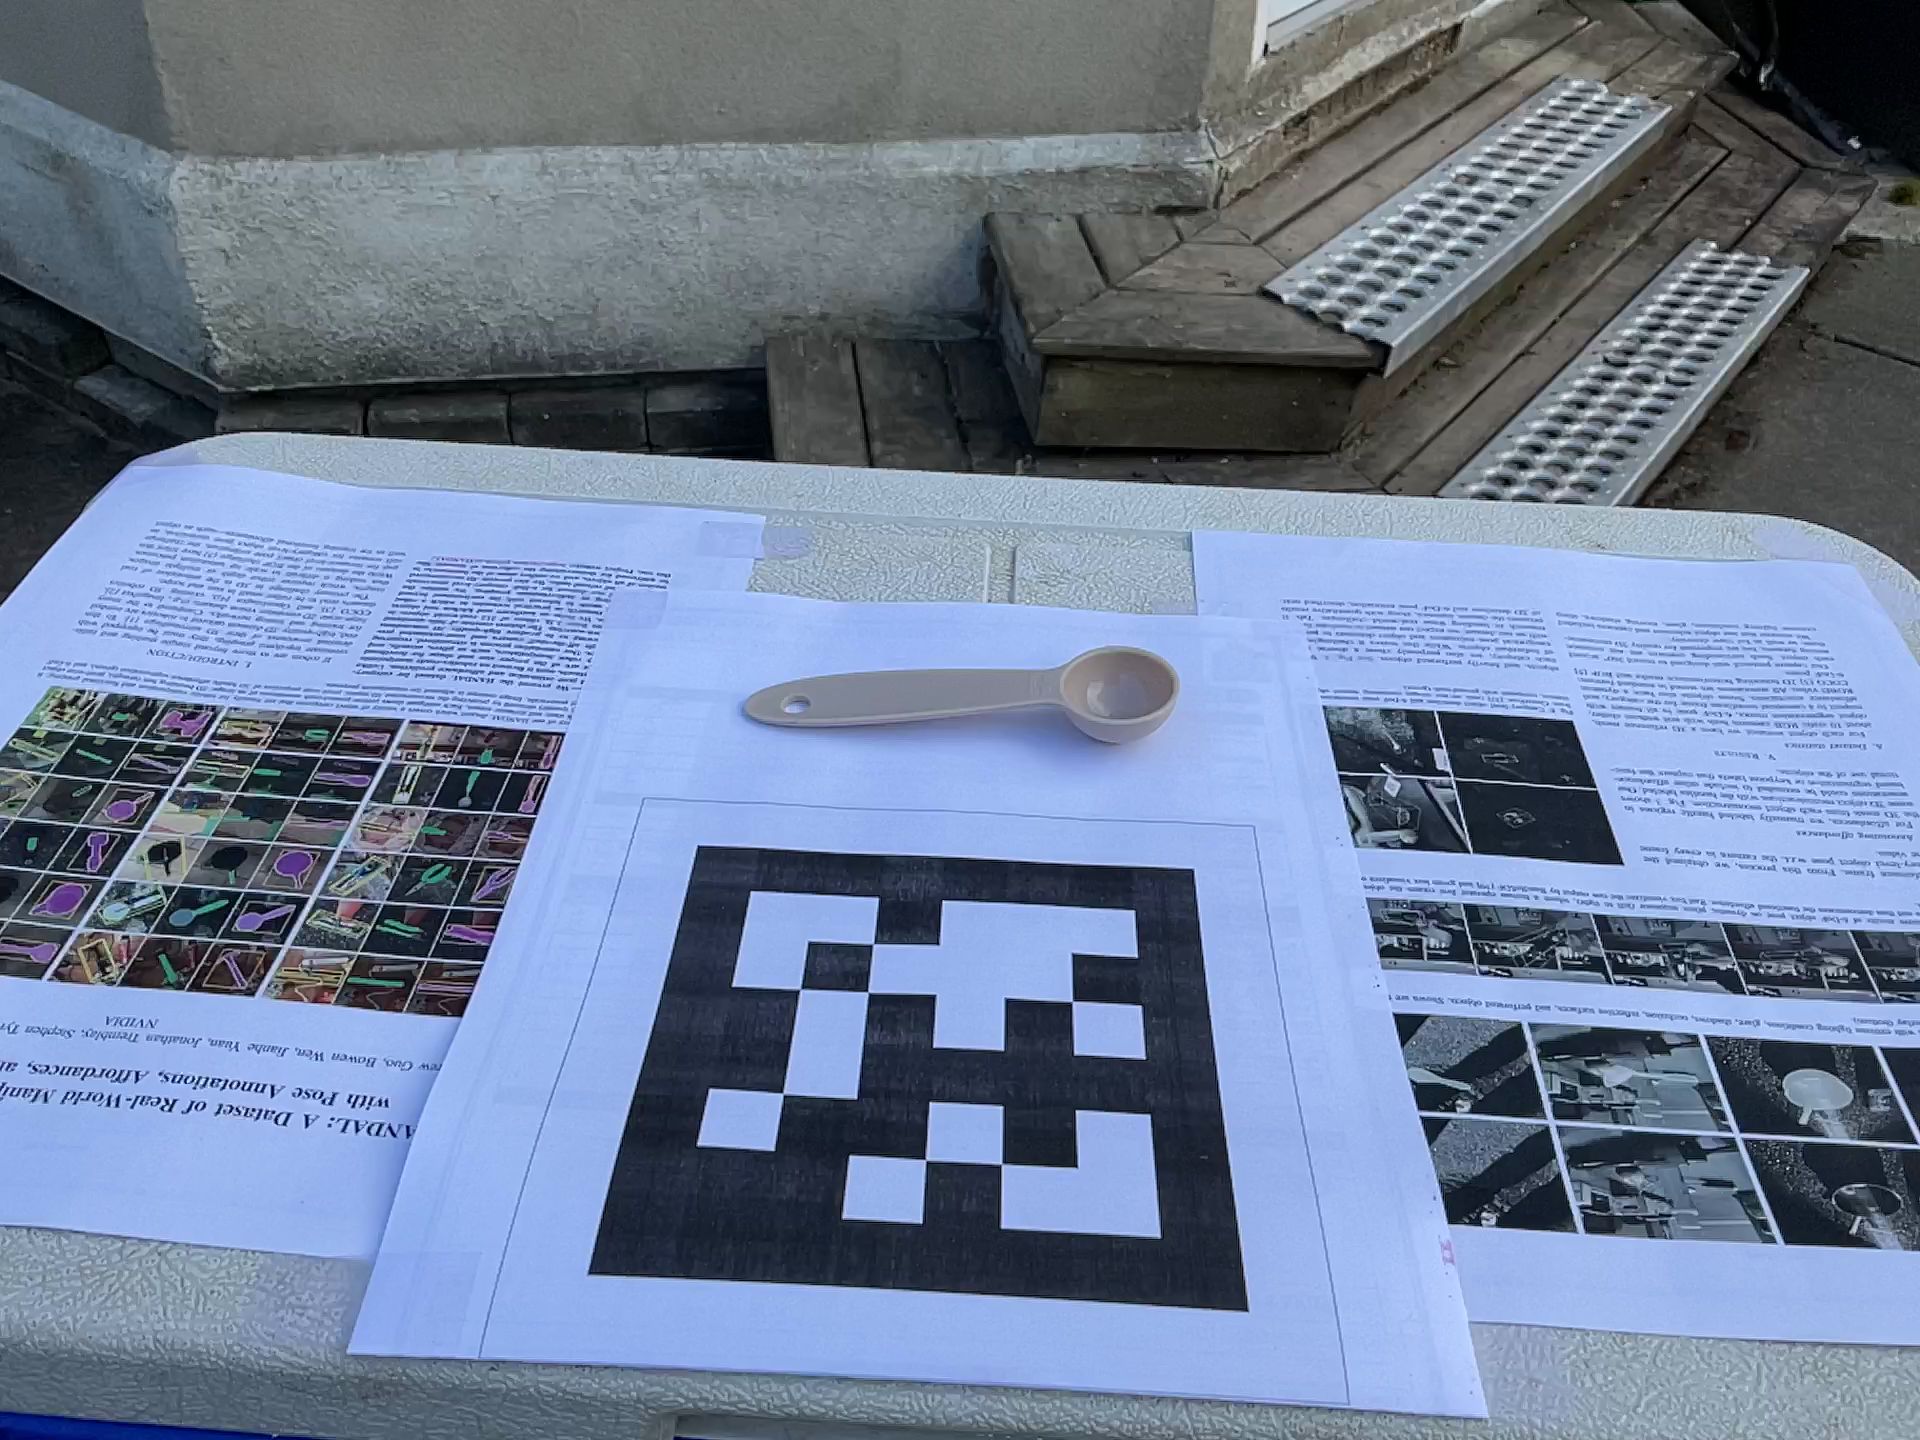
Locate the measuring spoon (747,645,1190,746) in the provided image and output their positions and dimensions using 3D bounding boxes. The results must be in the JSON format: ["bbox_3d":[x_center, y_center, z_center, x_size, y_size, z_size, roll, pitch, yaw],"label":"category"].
[{"bbox_3d":[0.002,-0.003,0.451,0.124,0.018,0.034,-2,41,6],"label":"measuring spoon"}]
